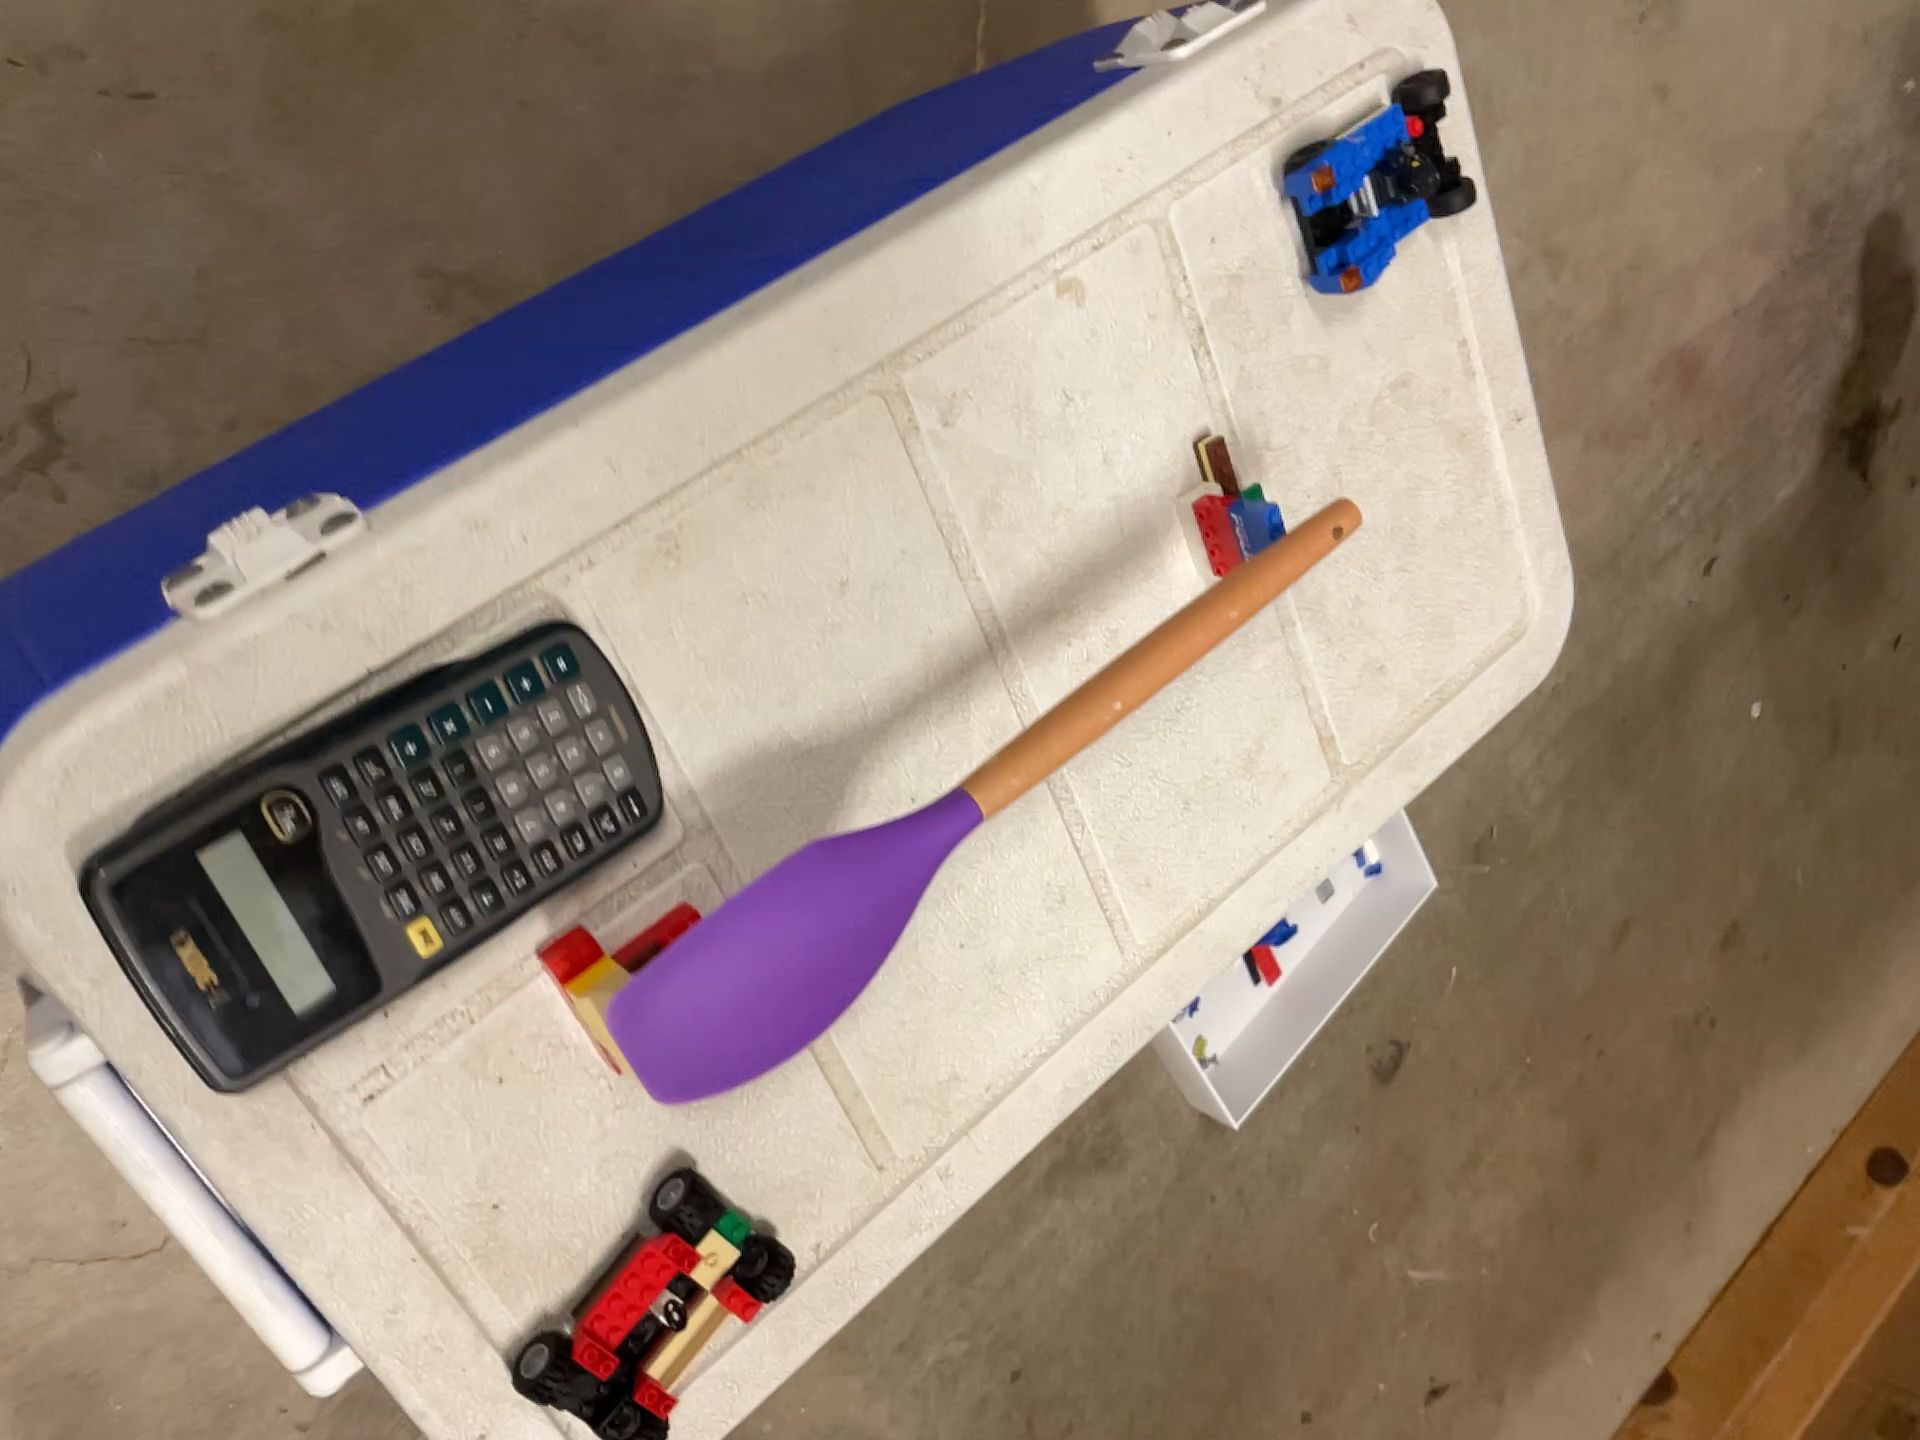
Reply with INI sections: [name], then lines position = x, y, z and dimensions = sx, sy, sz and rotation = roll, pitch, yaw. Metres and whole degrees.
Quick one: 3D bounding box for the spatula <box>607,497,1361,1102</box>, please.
[spatula]
position = 0.024, 0.014, 0.523
dimensions = 0.316, 0.018, 0.059
rotation = -37, 120, -21
